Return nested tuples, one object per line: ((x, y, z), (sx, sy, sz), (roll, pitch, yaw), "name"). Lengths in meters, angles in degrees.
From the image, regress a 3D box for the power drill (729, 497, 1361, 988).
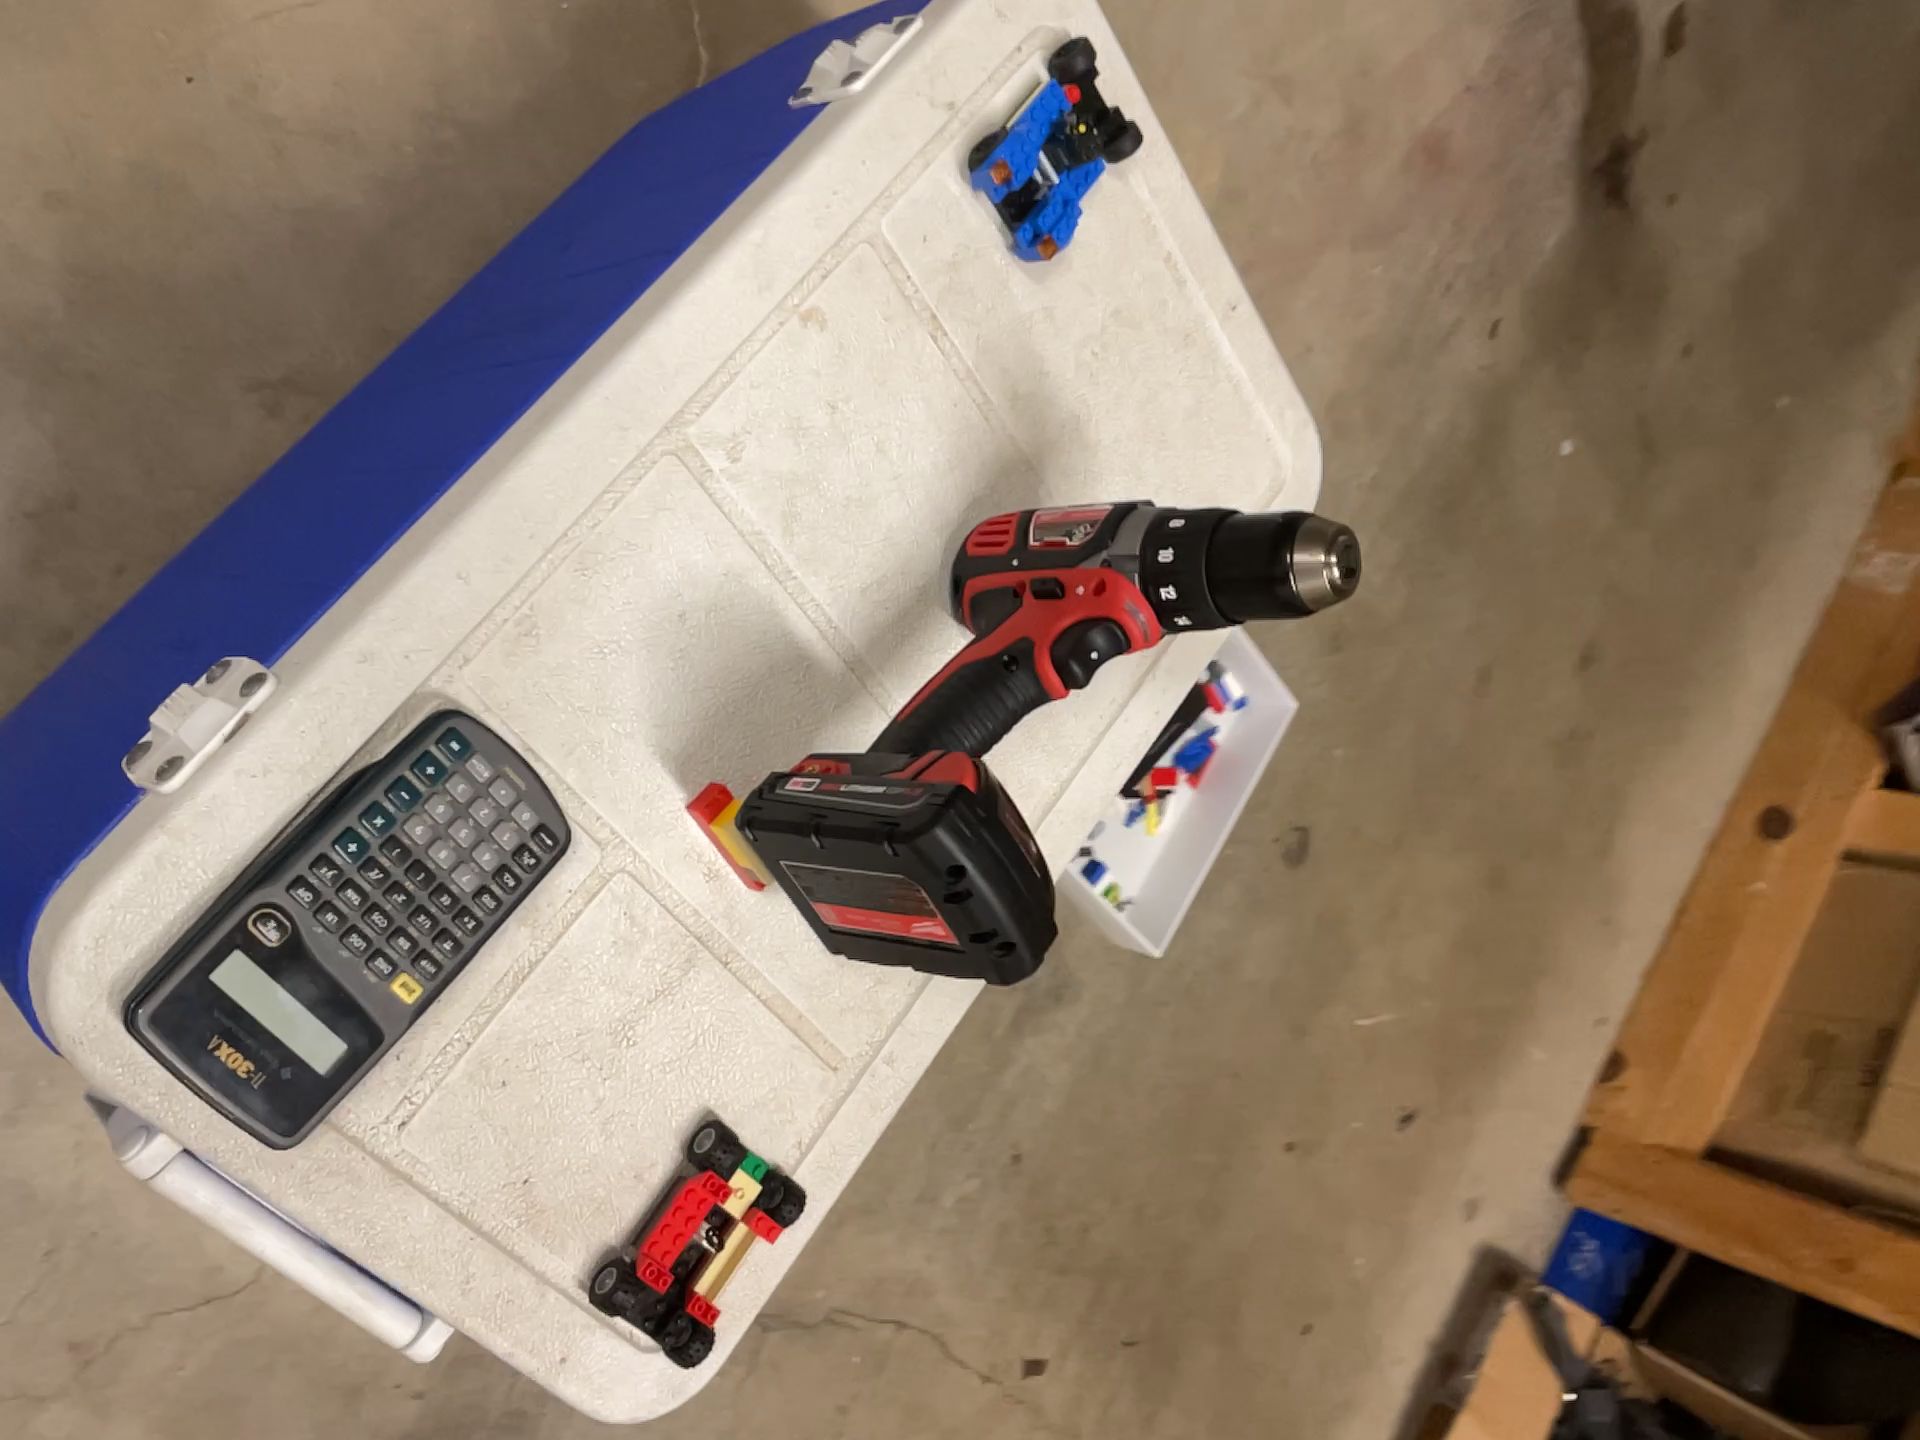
((0.038, -0.008, 0.628), (0.227, 0.187, 0.080), (-53, 128, -32), "power drill")
